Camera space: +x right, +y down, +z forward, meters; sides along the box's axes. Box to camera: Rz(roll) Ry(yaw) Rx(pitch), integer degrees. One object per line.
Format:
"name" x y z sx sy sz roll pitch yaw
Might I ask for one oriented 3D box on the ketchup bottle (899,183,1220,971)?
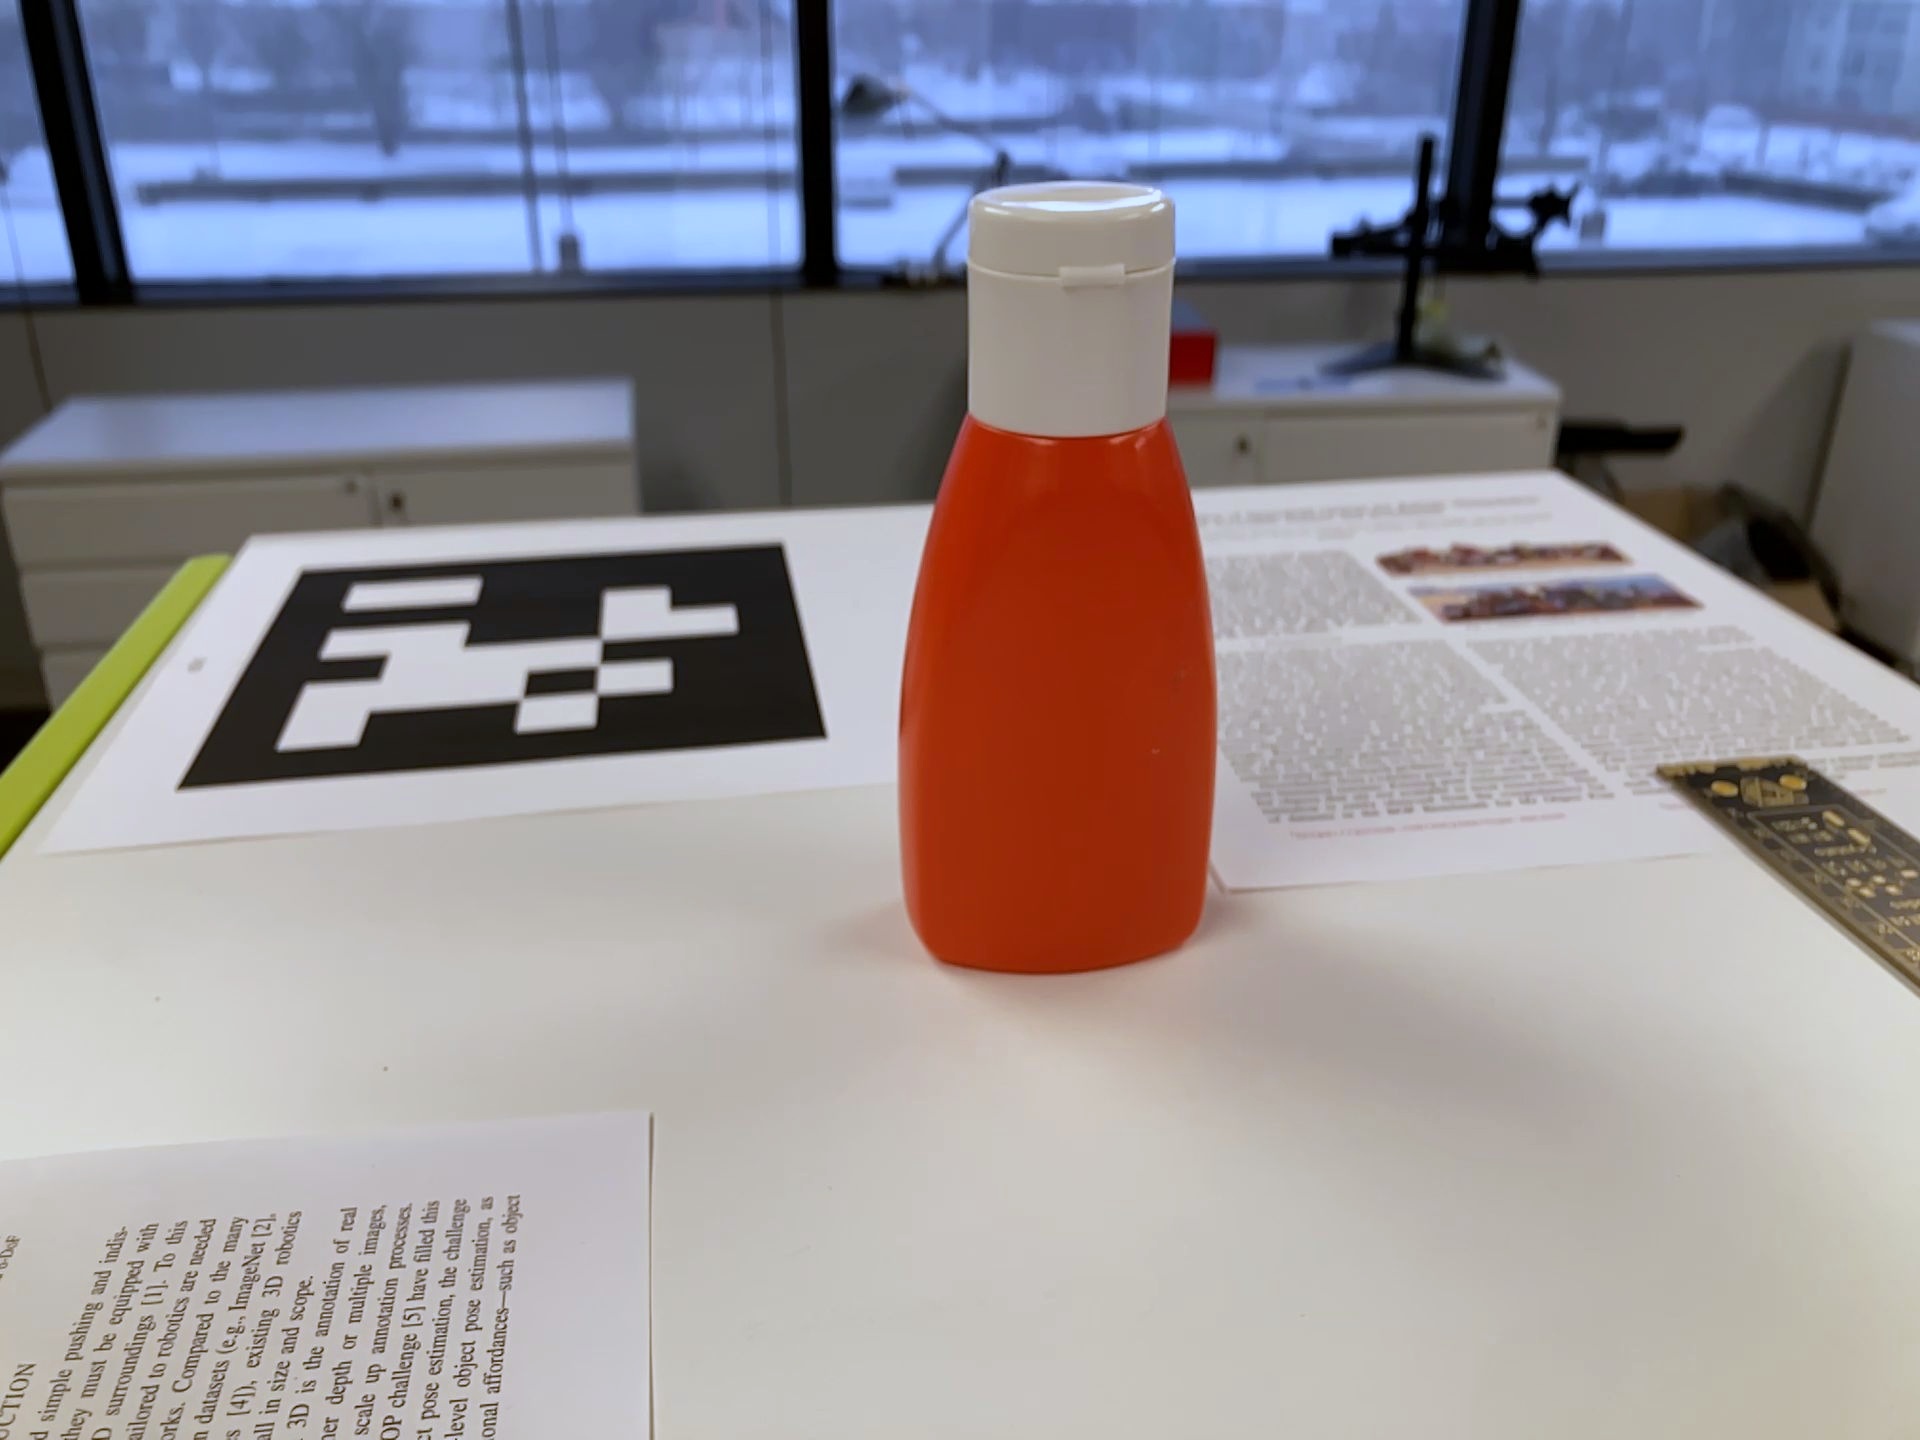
"ketchup bottle" 0.020 -0.024 0.309 0.065 0.149 0.043 -4 26 -7
